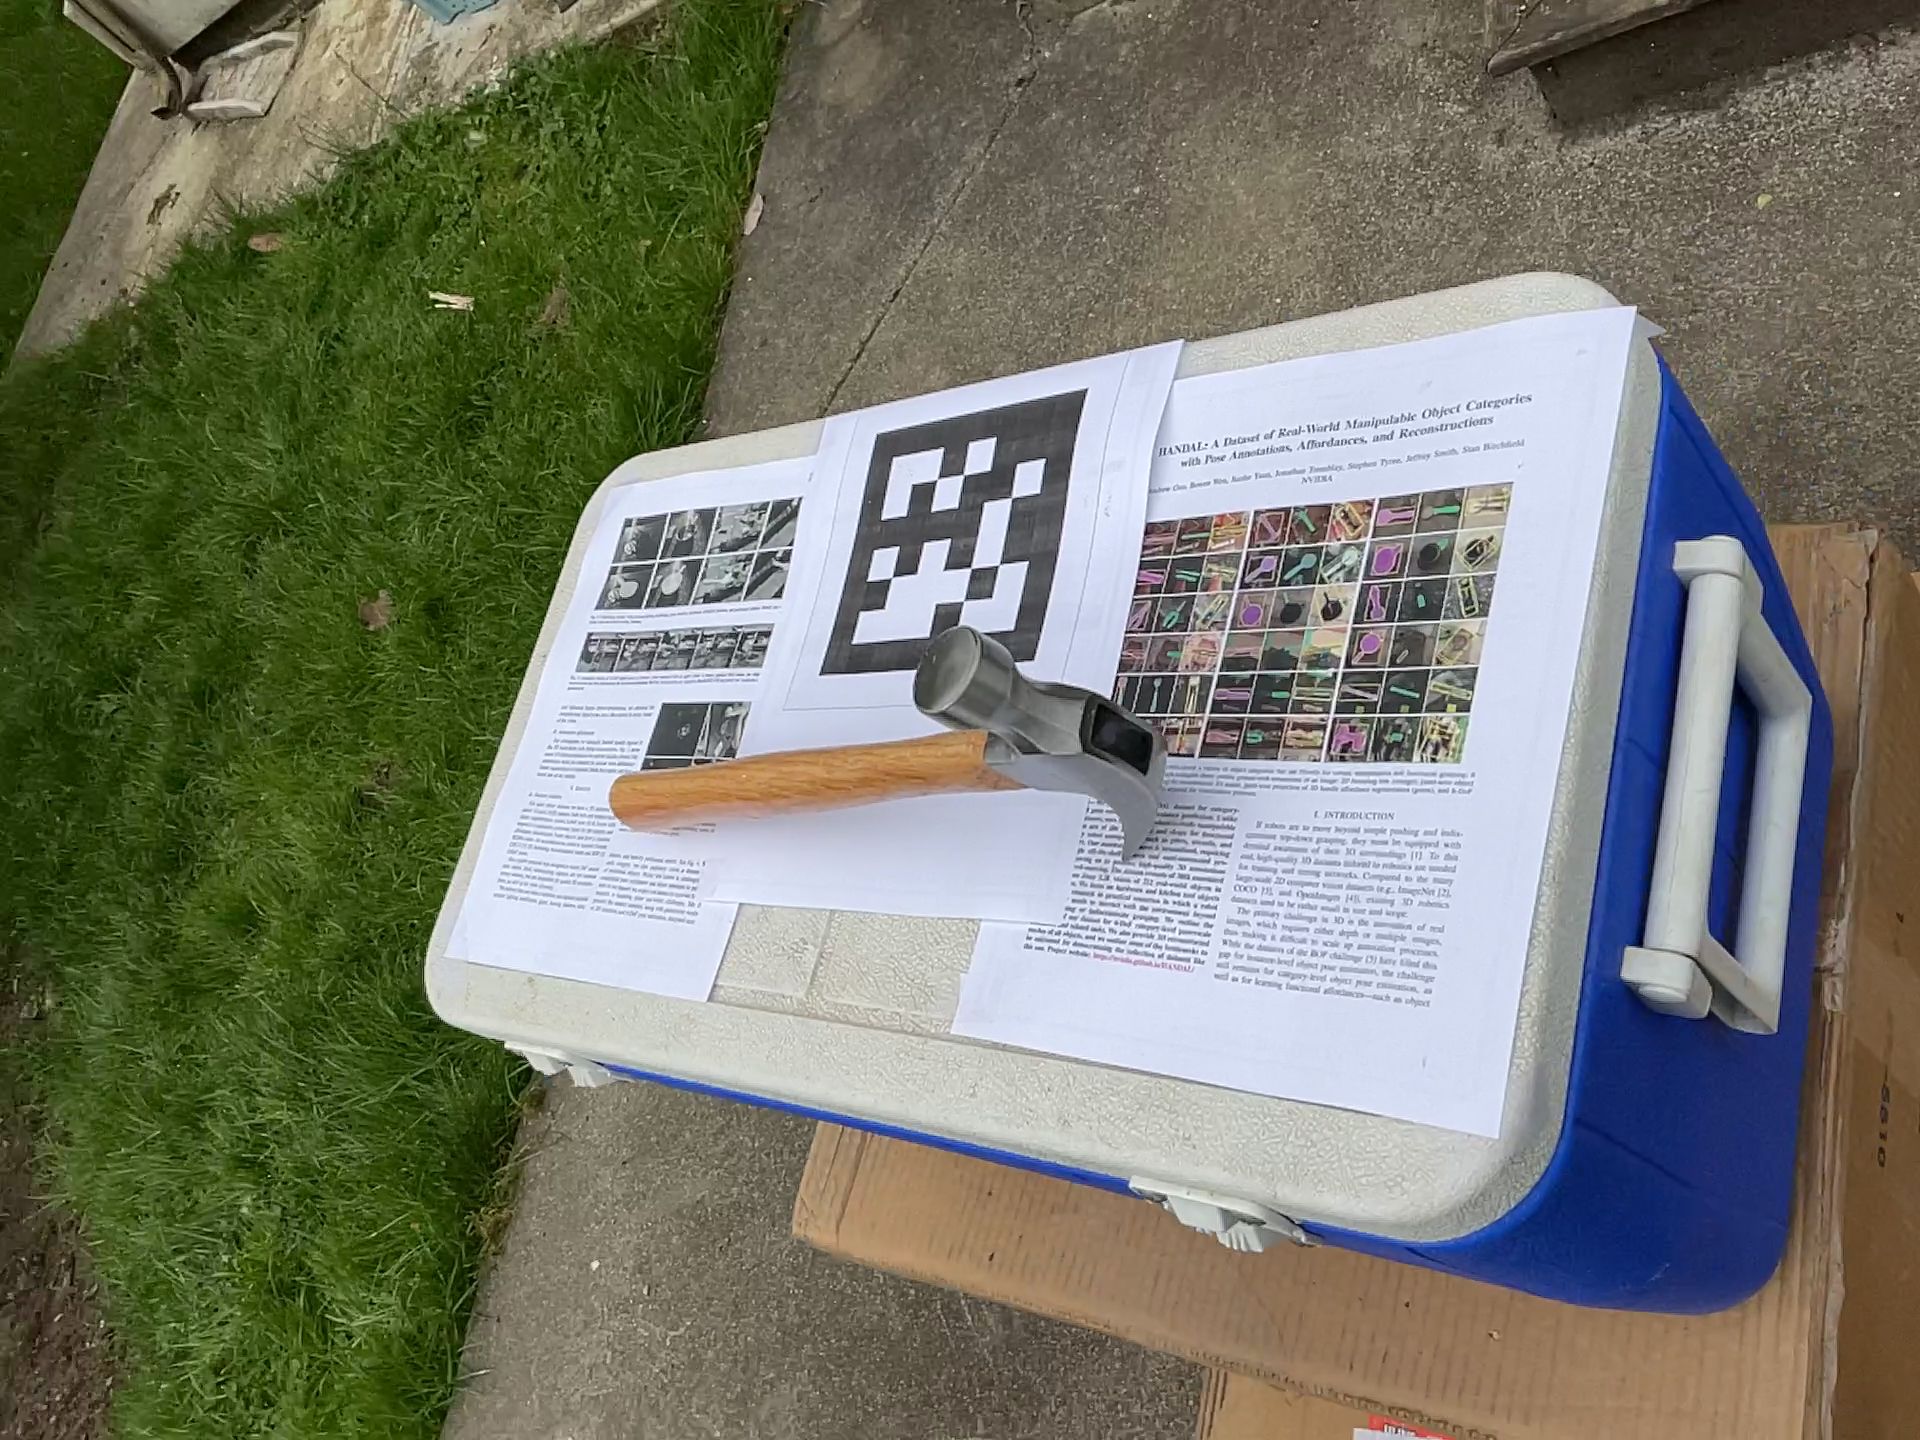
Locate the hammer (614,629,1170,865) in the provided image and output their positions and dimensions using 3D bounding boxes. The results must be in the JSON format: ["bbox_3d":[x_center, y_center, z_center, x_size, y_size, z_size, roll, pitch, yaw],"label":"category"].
[{"bbox_3d":[-0.048,0.025,0.645,0.332,0.129,0.031,-9,60,51],"label":"hammer"}]
